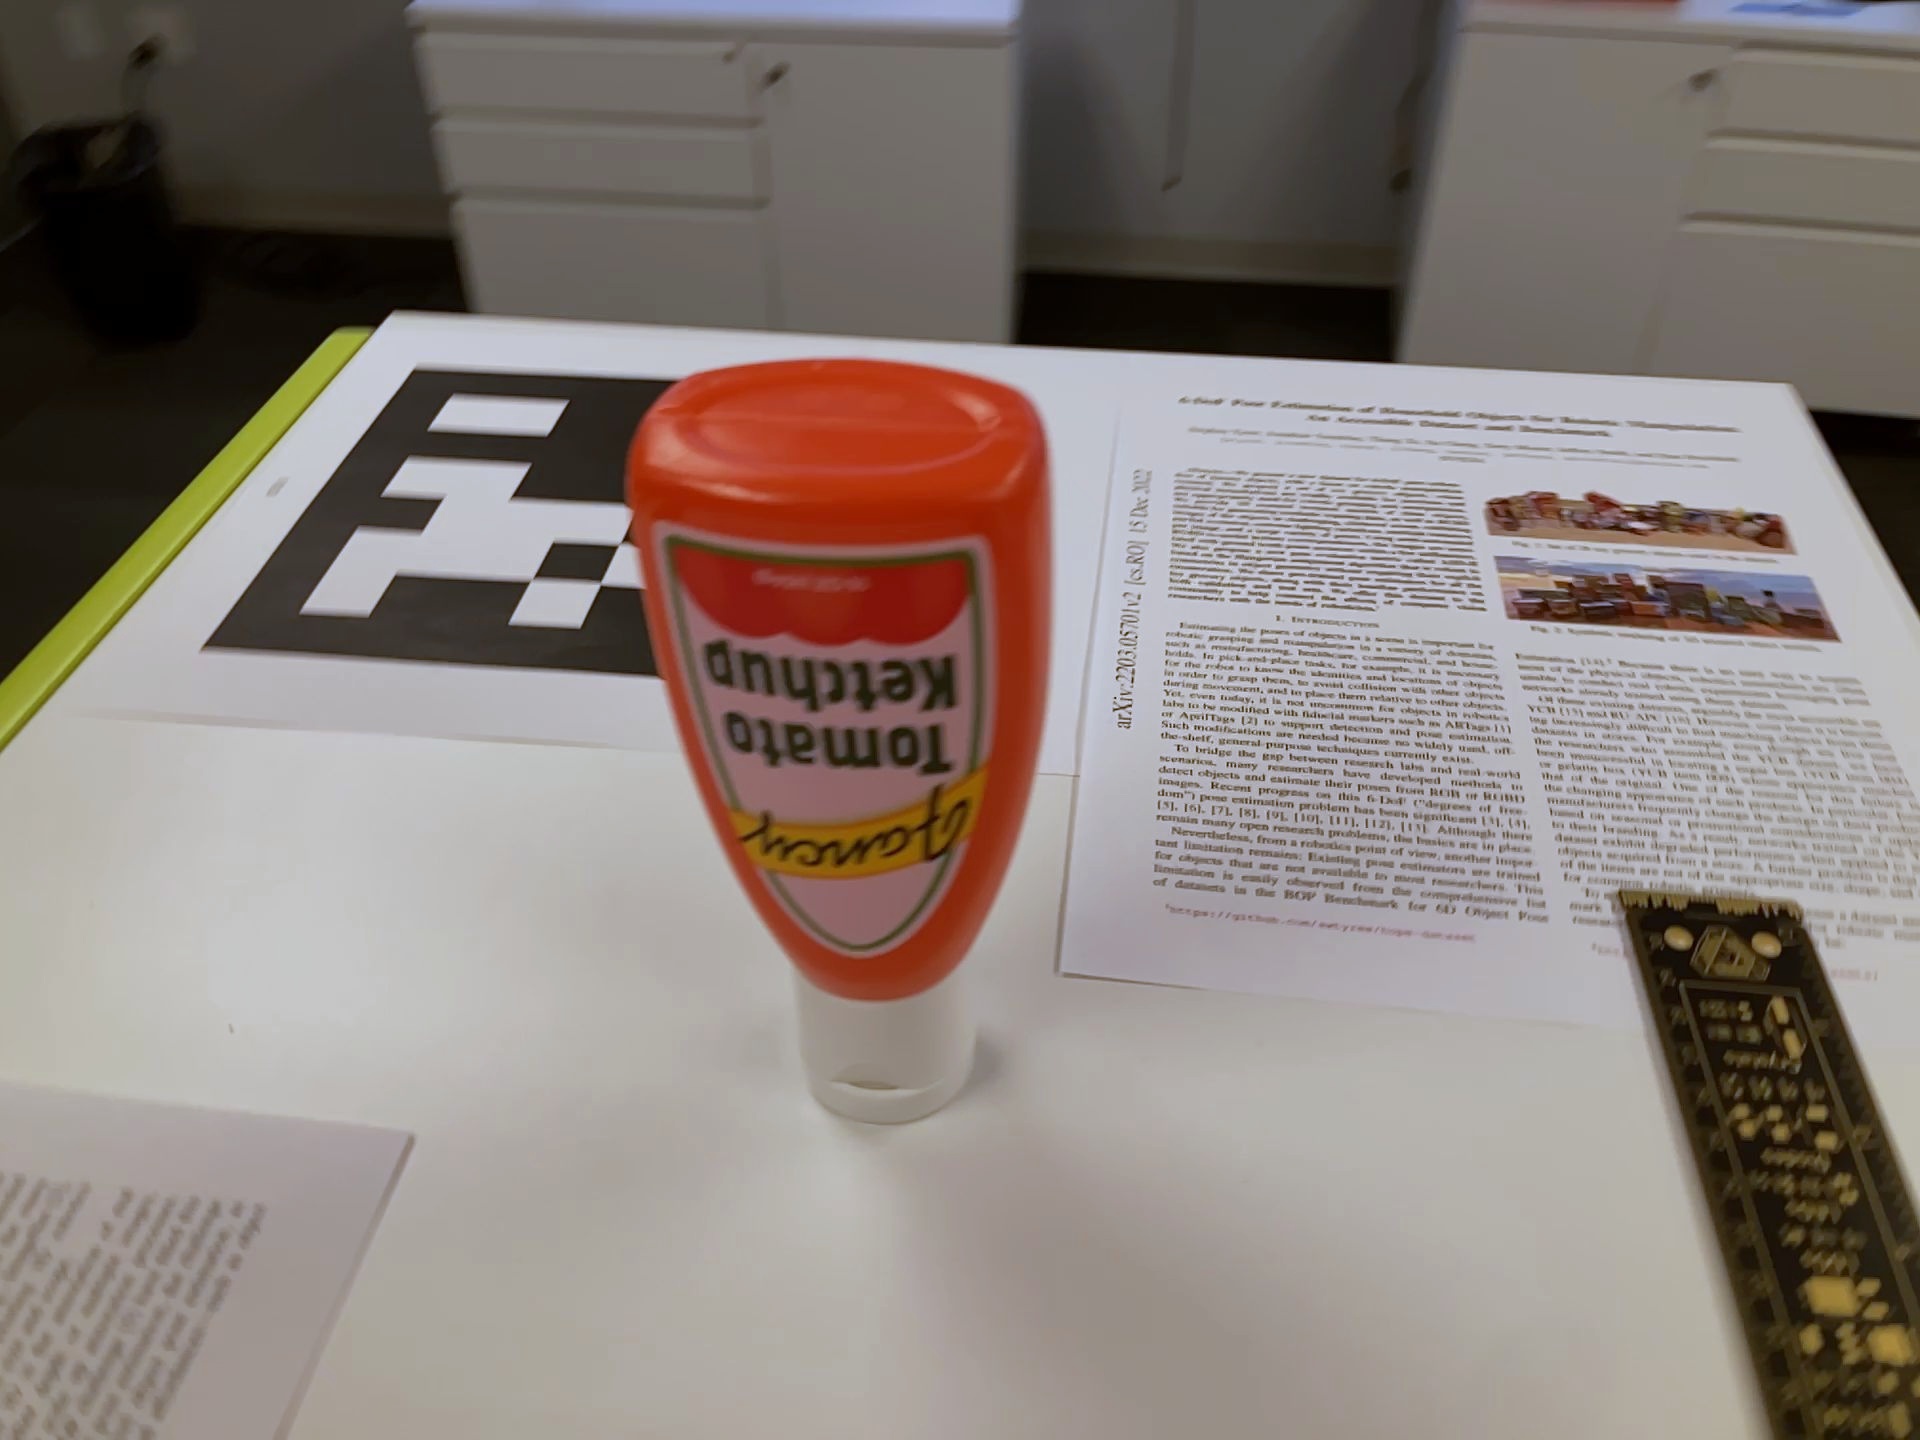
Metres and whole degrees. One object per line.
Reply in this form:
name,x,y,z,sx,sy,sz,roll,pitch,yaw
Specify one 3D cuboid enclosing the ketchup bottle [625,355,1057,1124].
ketchup bottle,-0.016,0.012,0.278,0.065,0.149,0.043,4,41,7
